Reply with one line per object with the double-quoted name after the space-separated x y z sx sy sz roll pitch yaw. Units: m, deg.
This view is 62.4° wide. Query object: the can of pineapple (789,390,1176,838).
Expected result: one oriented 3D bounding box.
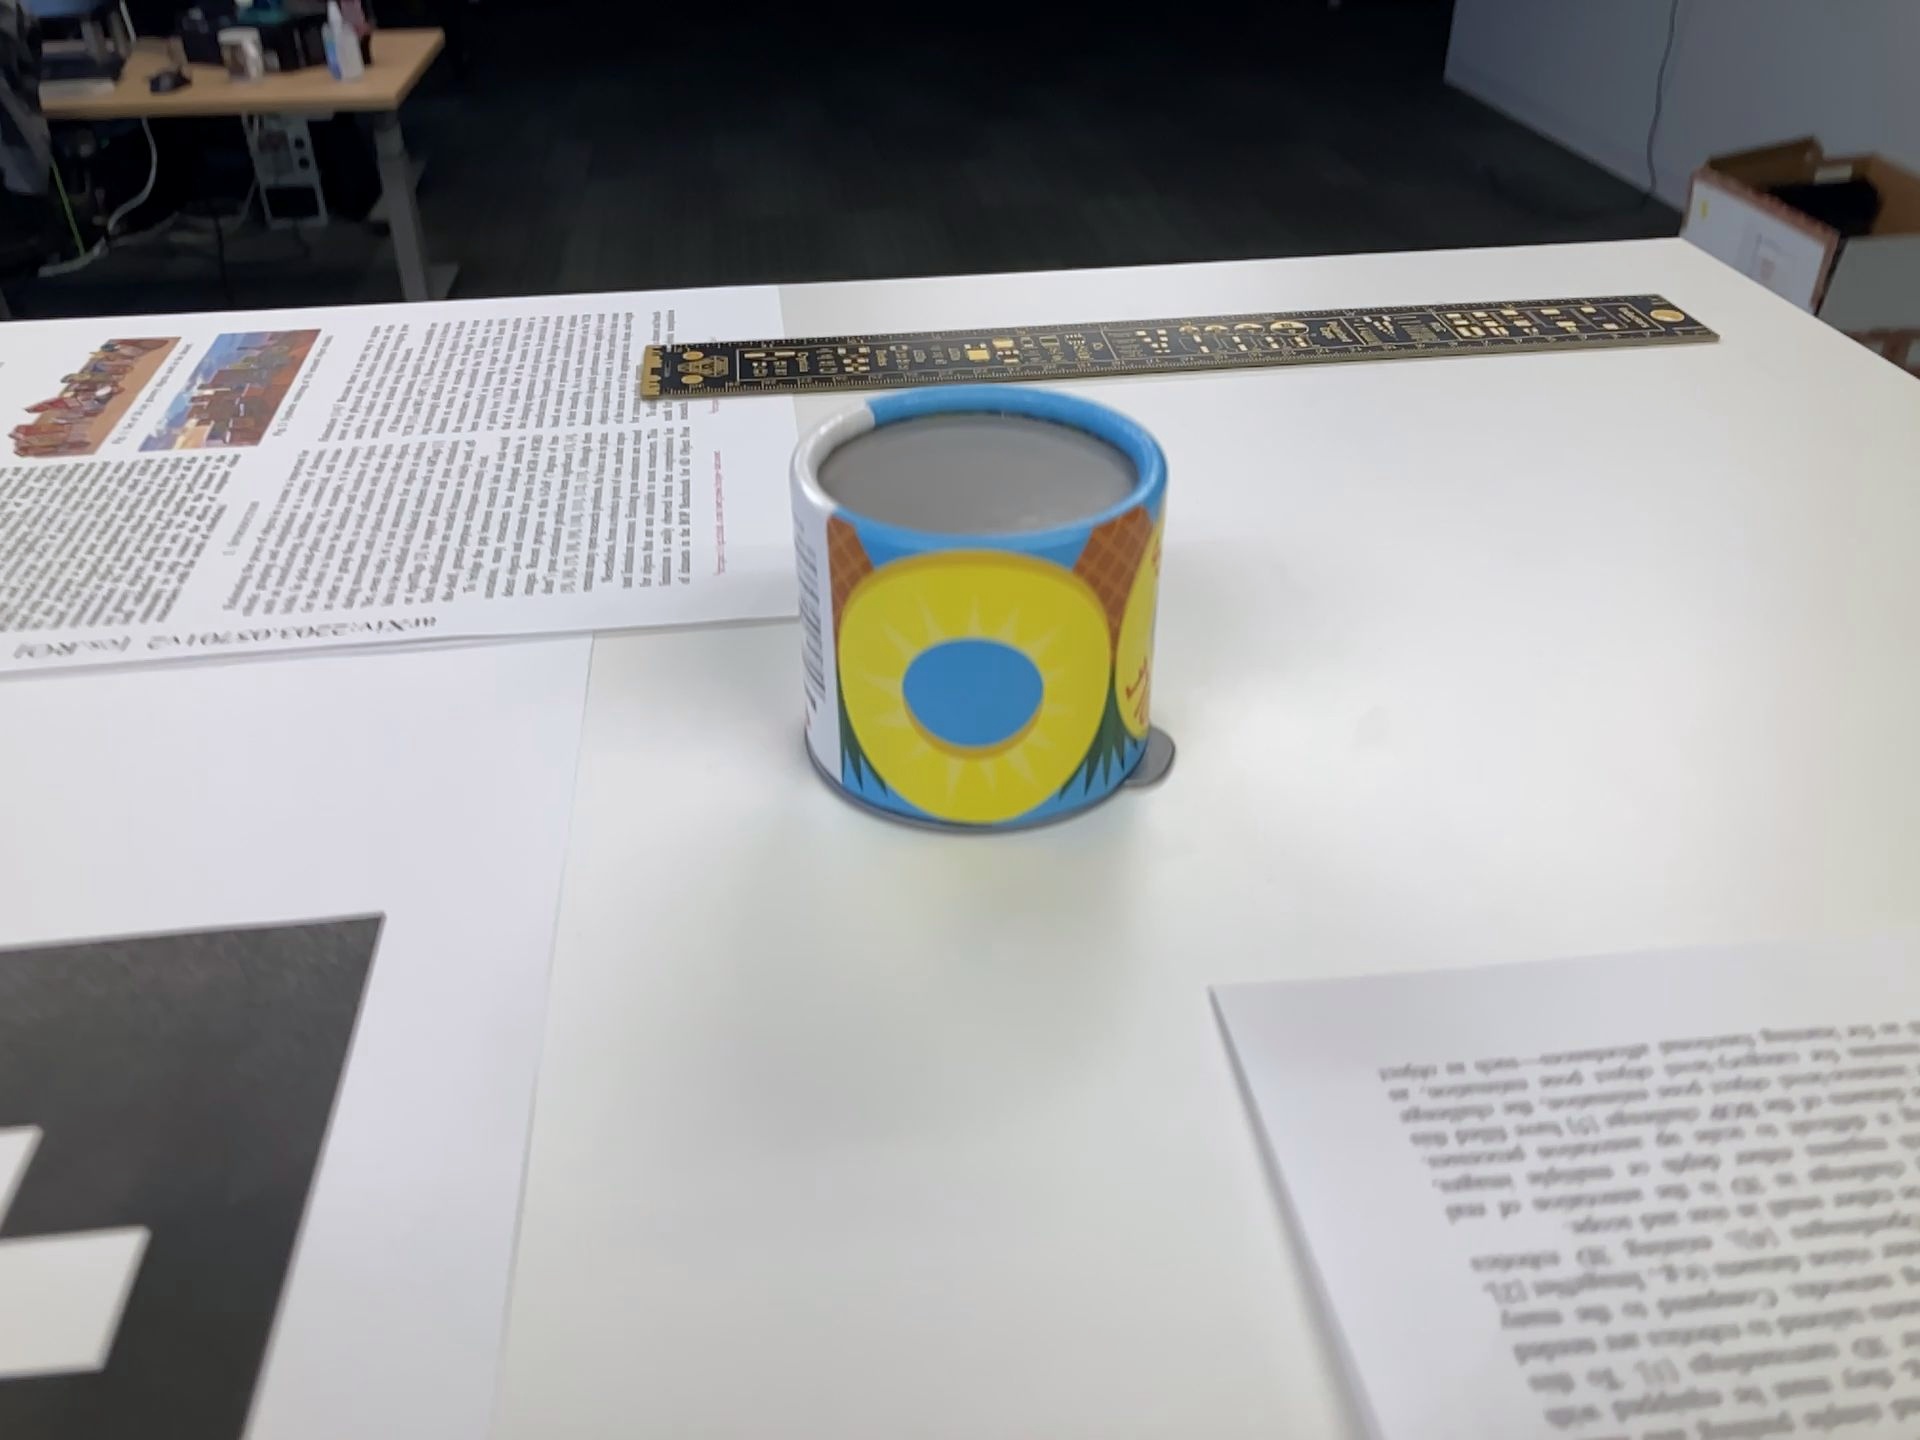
0.005 -0.021 0.289 0.071 0.058 0.071 0 34 0 "can of pineapple"
